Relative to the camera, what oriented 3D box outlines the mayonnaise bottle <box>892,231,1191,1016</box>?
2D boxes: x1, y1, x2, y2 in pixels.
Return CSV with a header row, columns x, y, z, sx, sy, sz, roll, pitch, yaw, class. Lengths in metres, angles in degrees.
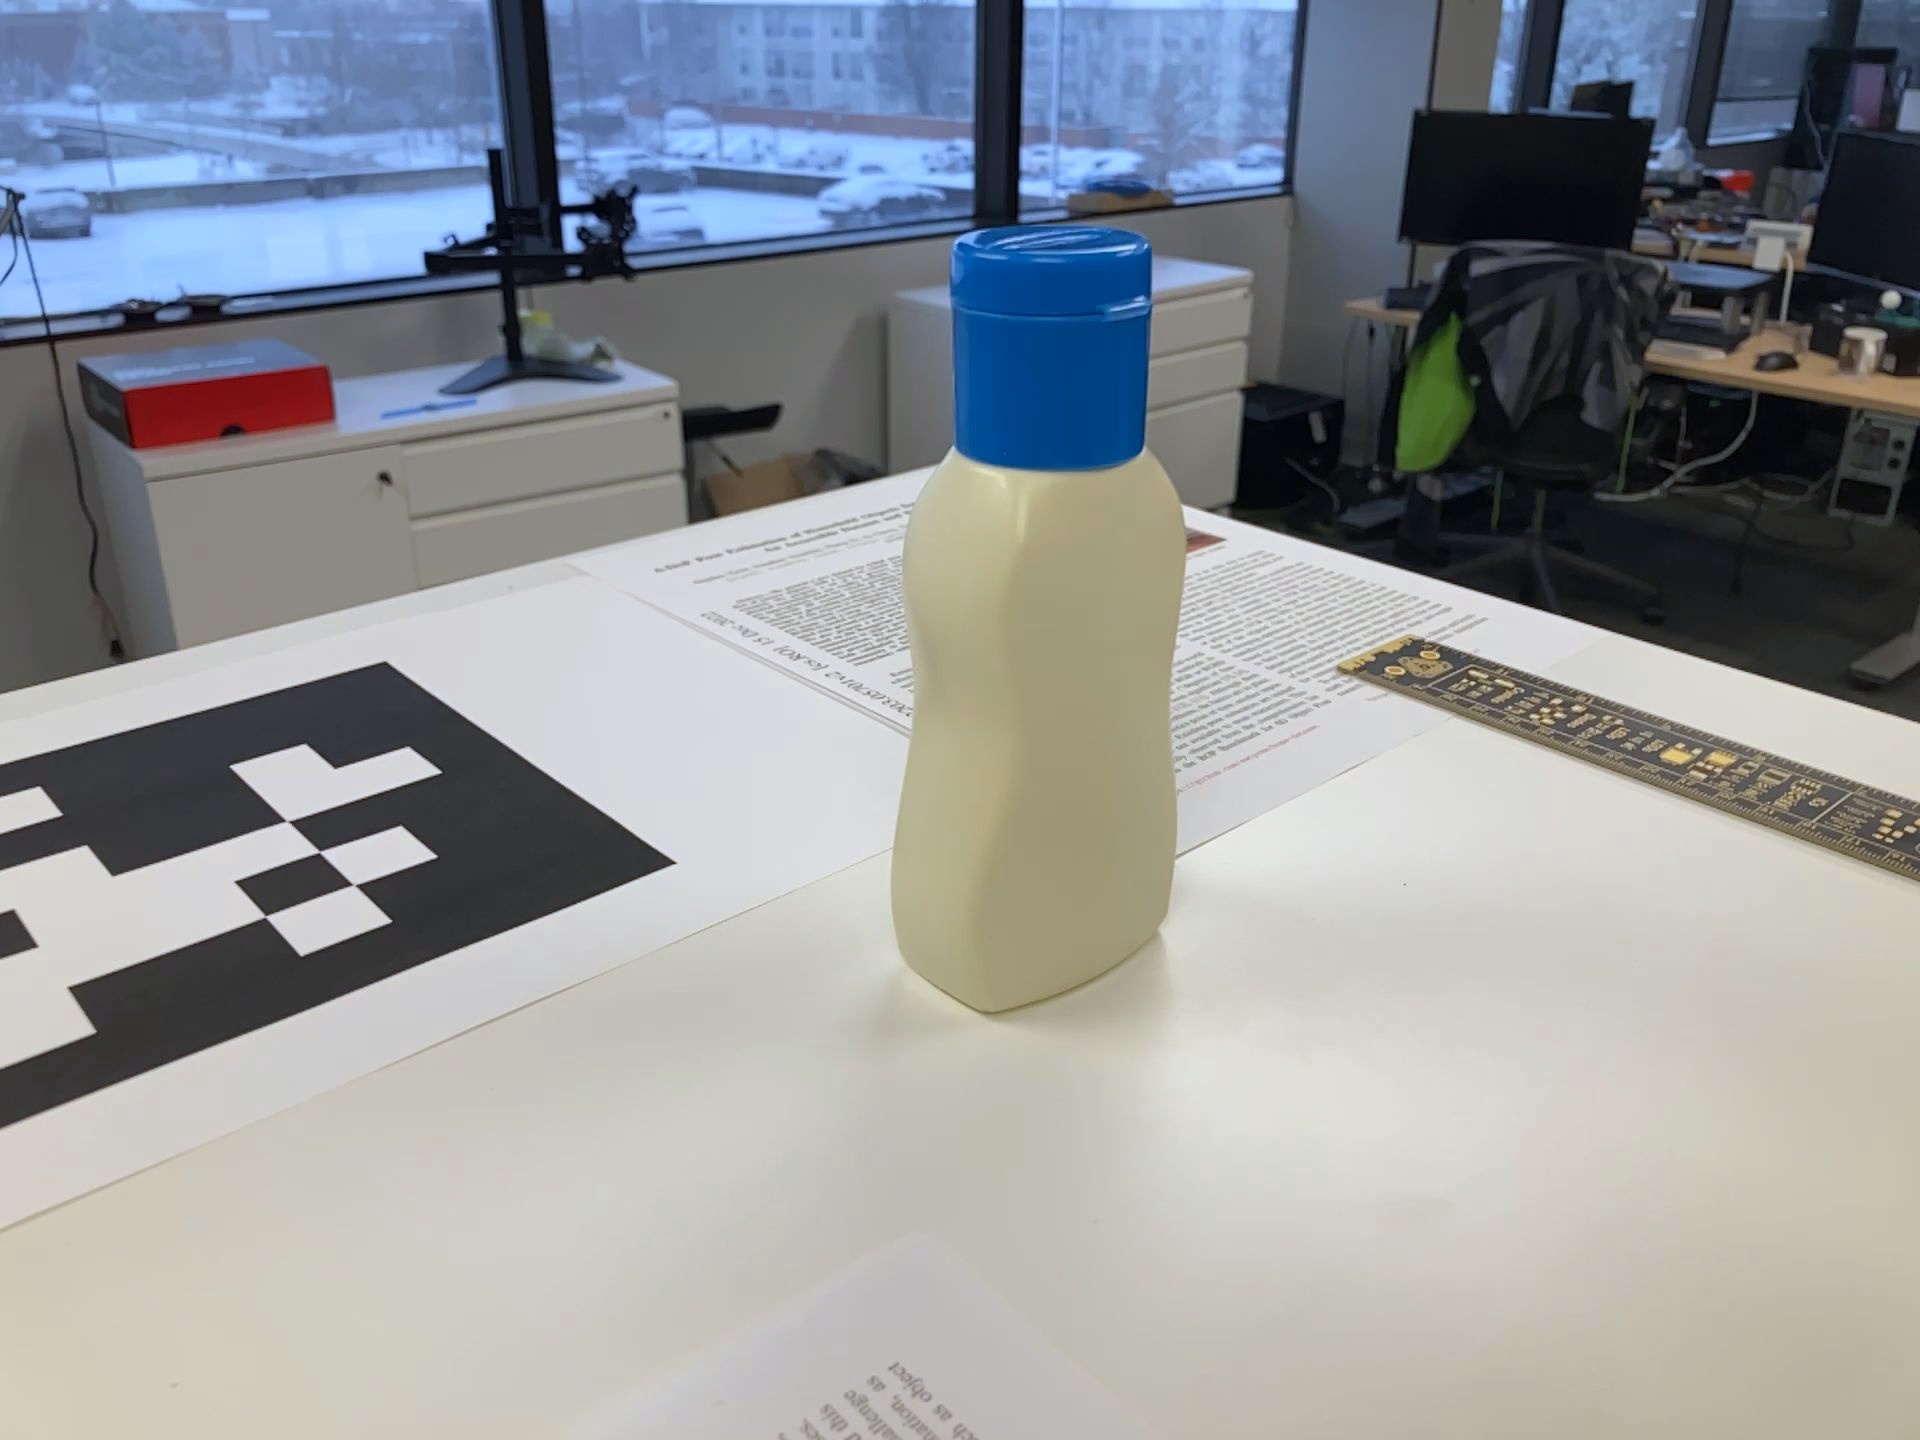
x,y,z,sx,sy,sz,roll,pitch,yaw,class
0.017,-0.018,0.312,0.065,0.148,0.041,-20,30,-37,mayonnaise bottle
